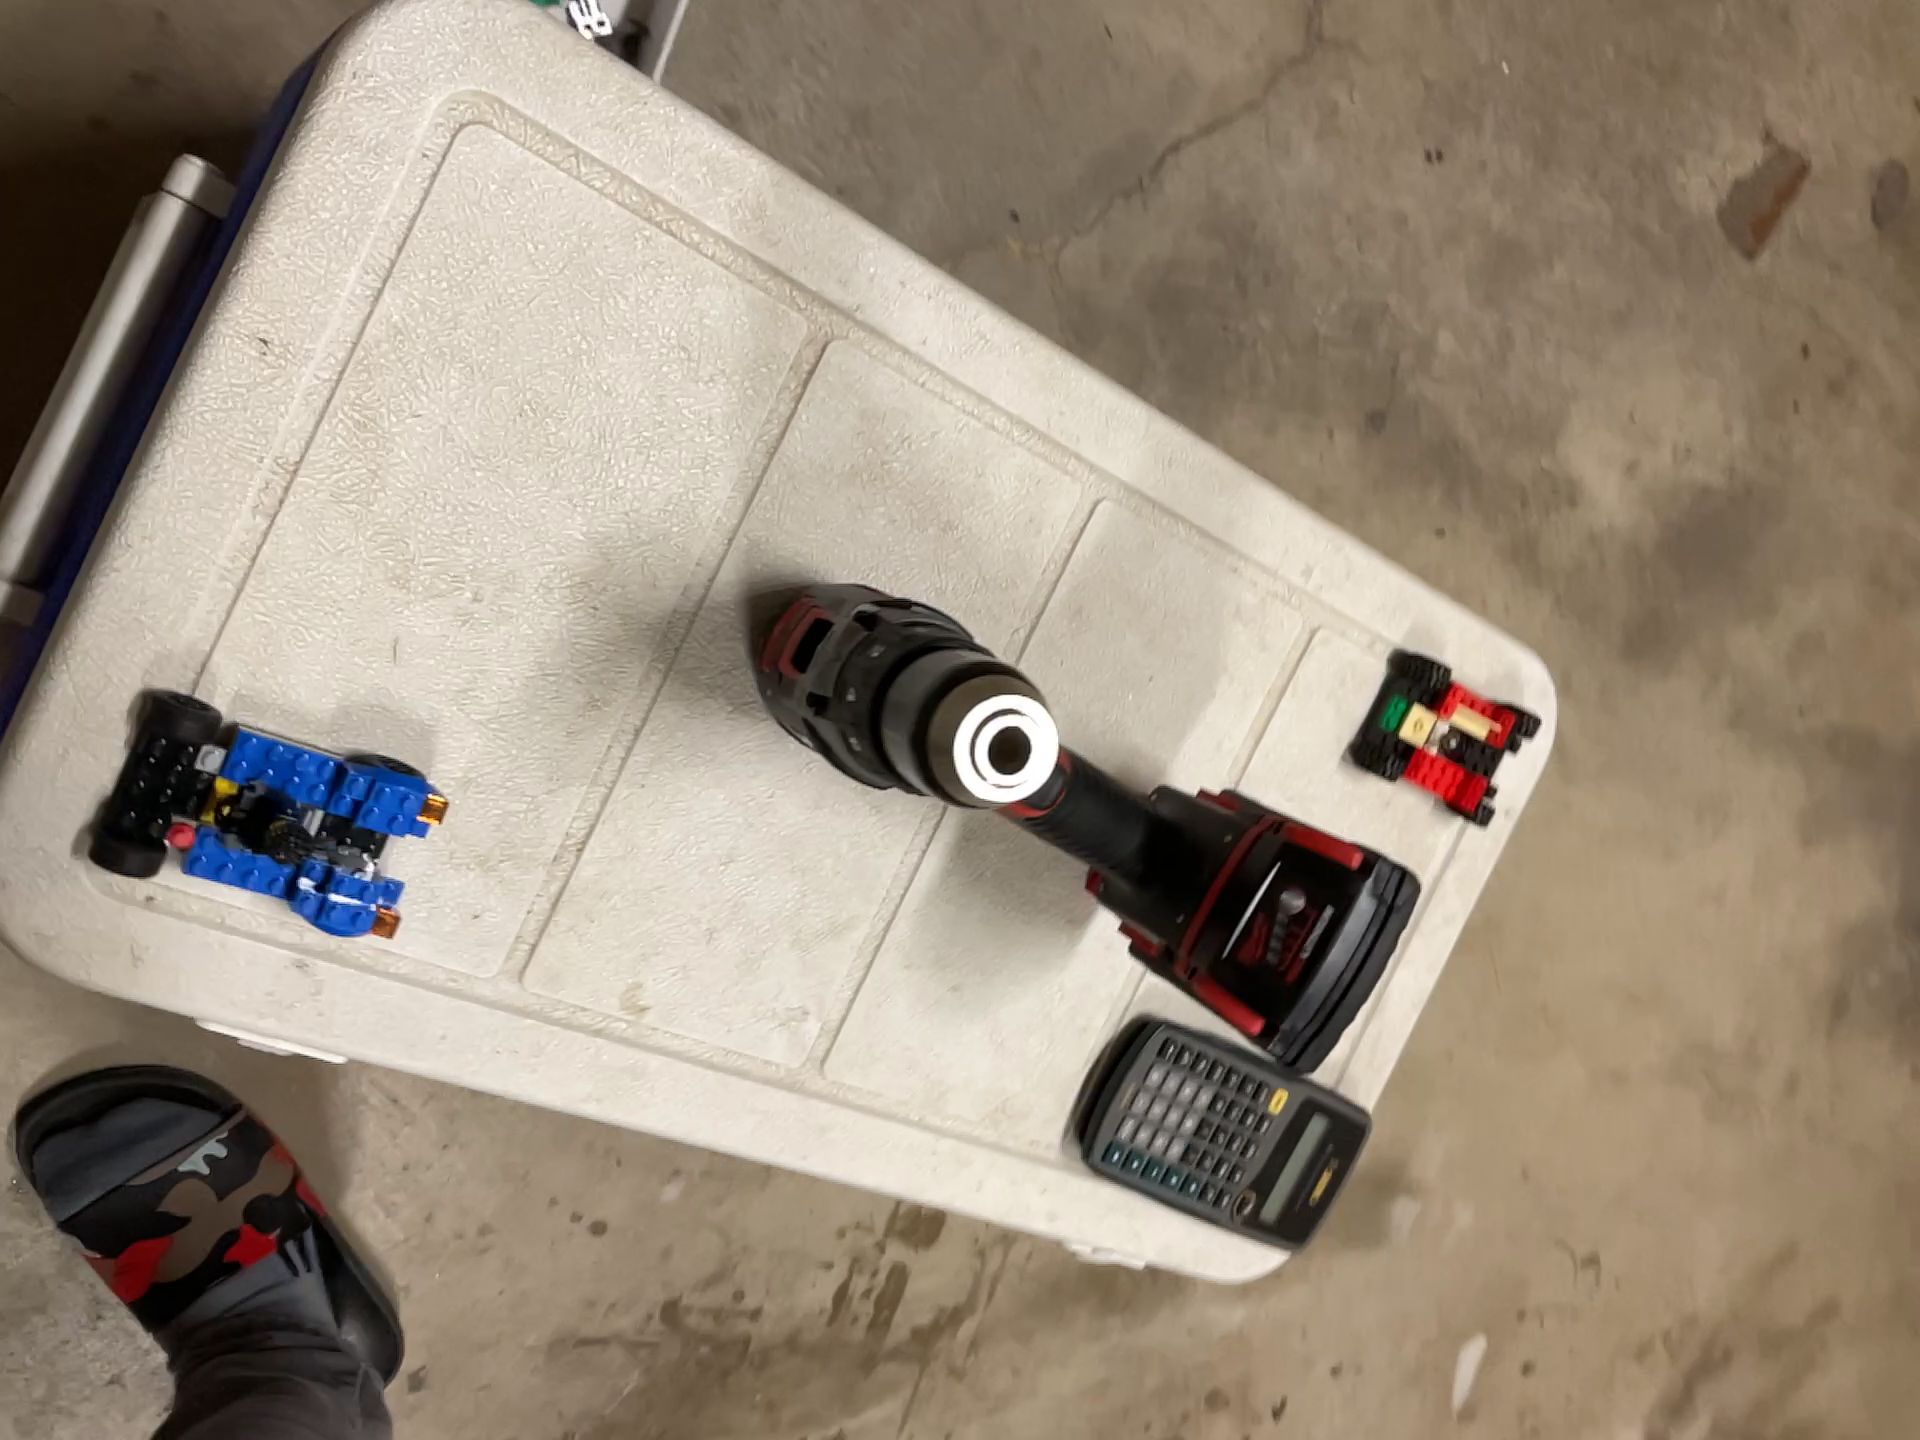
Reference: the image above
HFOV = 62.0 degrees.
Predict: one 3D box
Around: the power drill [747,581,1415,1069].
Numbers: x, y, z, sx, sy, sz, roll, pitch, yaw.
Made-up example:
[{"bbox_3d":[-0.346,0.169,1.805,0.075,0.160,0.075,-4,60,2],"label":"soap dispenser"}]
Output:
[{"bbox_3d":[0.043,0.031,0.533,0.226,0.188,0.080,32,87,-22],"label":"power drill"}]
